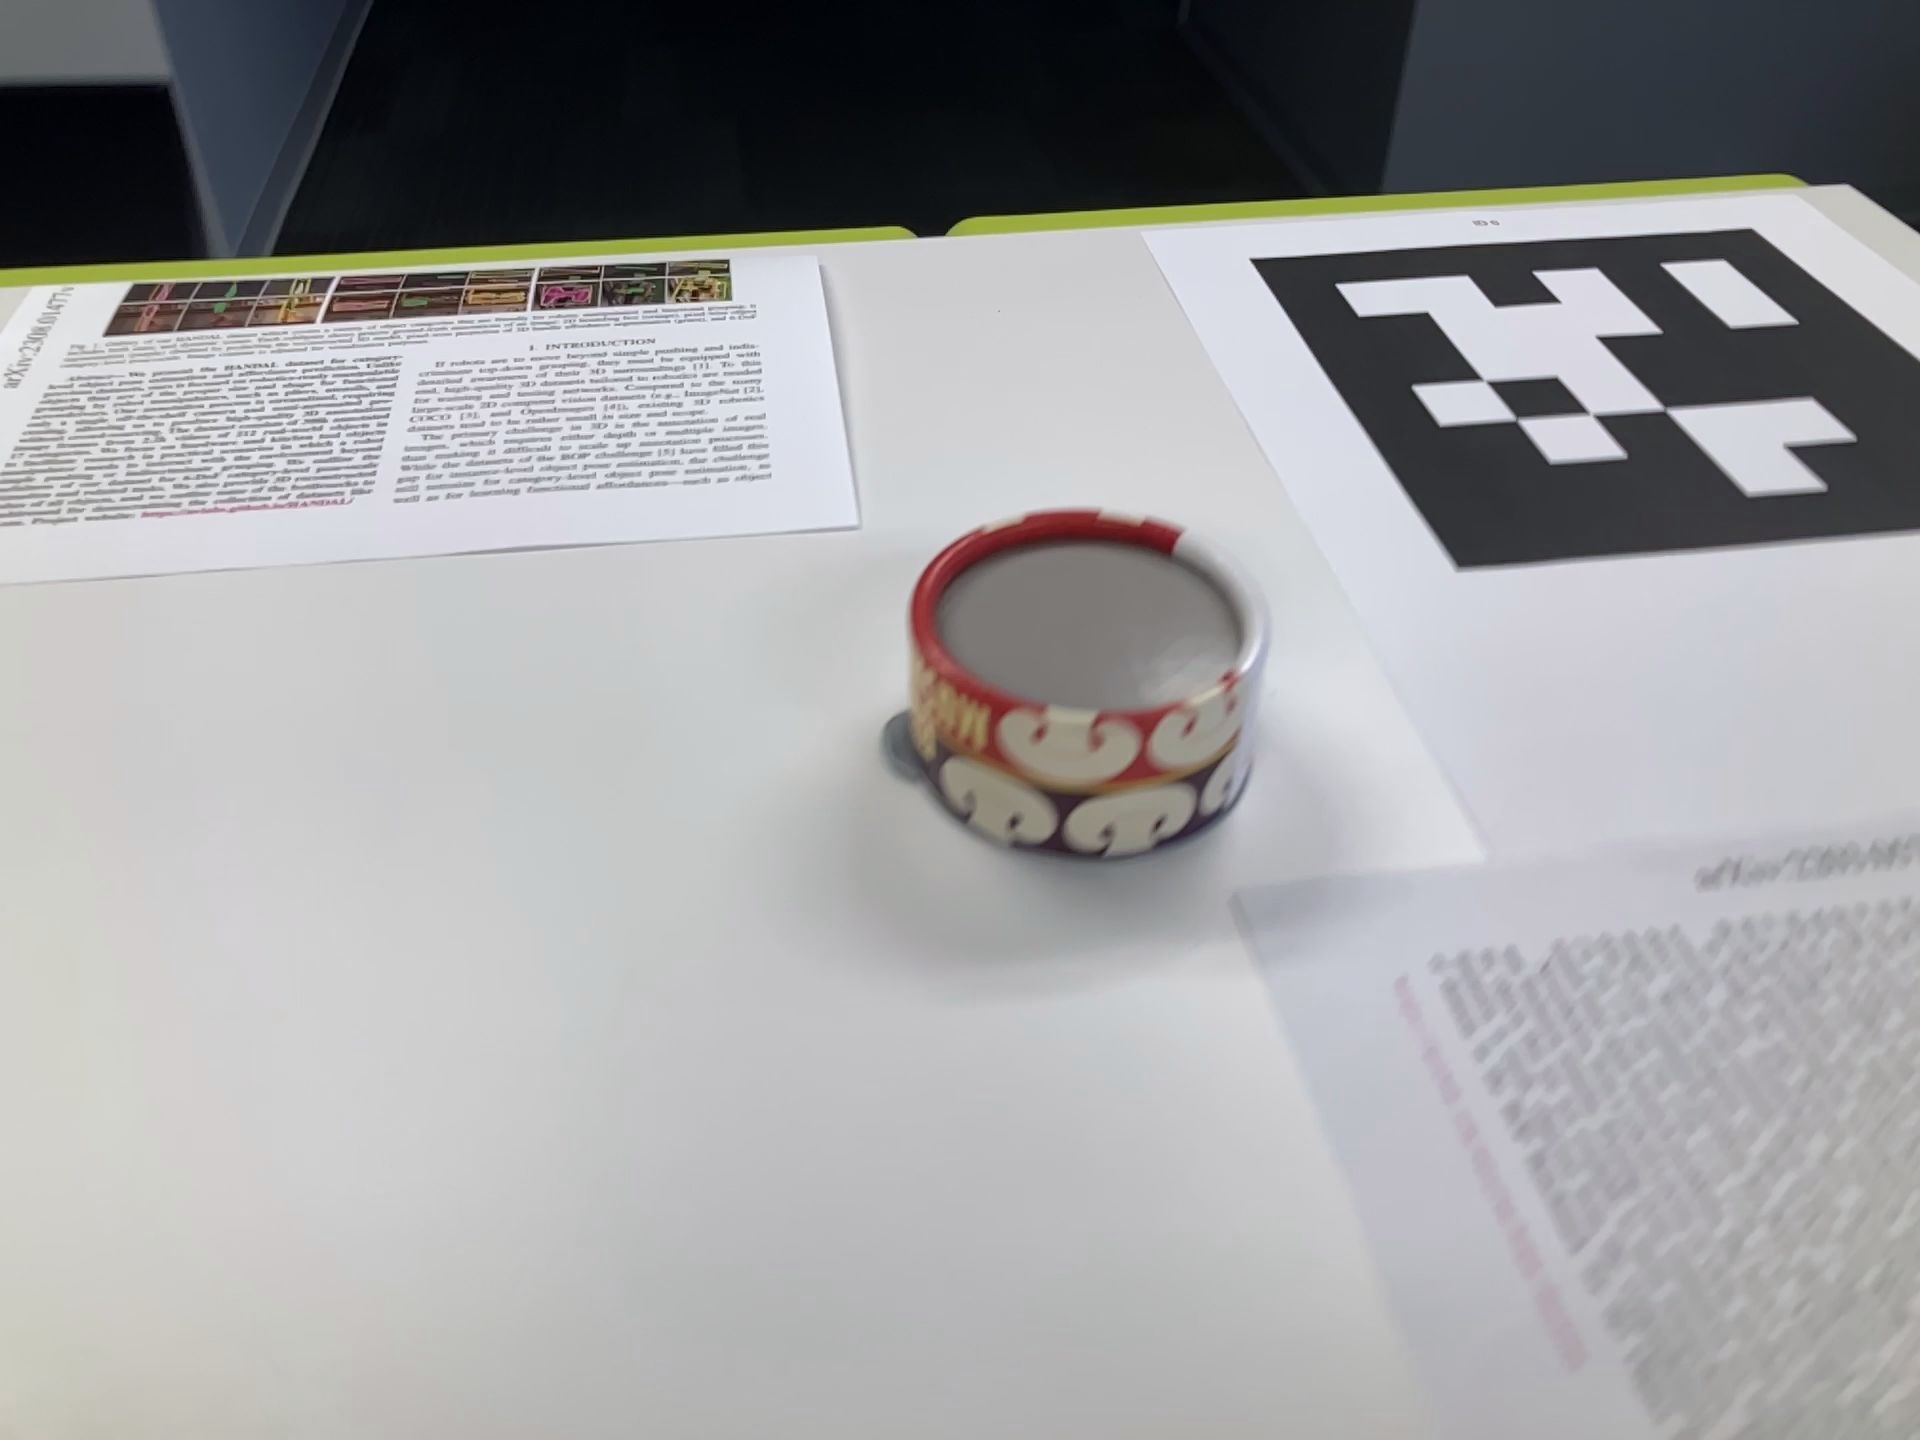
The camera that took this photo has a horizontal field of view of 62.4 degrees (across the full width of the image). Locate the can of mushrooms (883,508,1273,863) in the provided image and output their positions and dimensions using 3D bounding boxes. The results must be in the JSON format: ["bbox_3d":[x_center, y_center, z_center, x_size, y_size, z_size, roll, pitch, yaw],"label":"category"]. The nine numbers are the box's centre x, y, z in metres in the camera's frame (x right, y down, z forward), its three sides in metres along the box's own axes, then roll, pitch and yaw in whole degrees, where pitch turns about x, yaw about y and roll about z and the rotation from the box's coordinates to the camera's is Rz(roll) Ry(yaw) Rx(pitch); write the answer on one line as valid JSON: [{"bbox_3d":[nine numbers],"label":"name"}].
[{"bbox_3d":[0.021,-0.008,0.292,0.071,0.033,0.071,0,41,0],"label":"can of mushrooms"}]
